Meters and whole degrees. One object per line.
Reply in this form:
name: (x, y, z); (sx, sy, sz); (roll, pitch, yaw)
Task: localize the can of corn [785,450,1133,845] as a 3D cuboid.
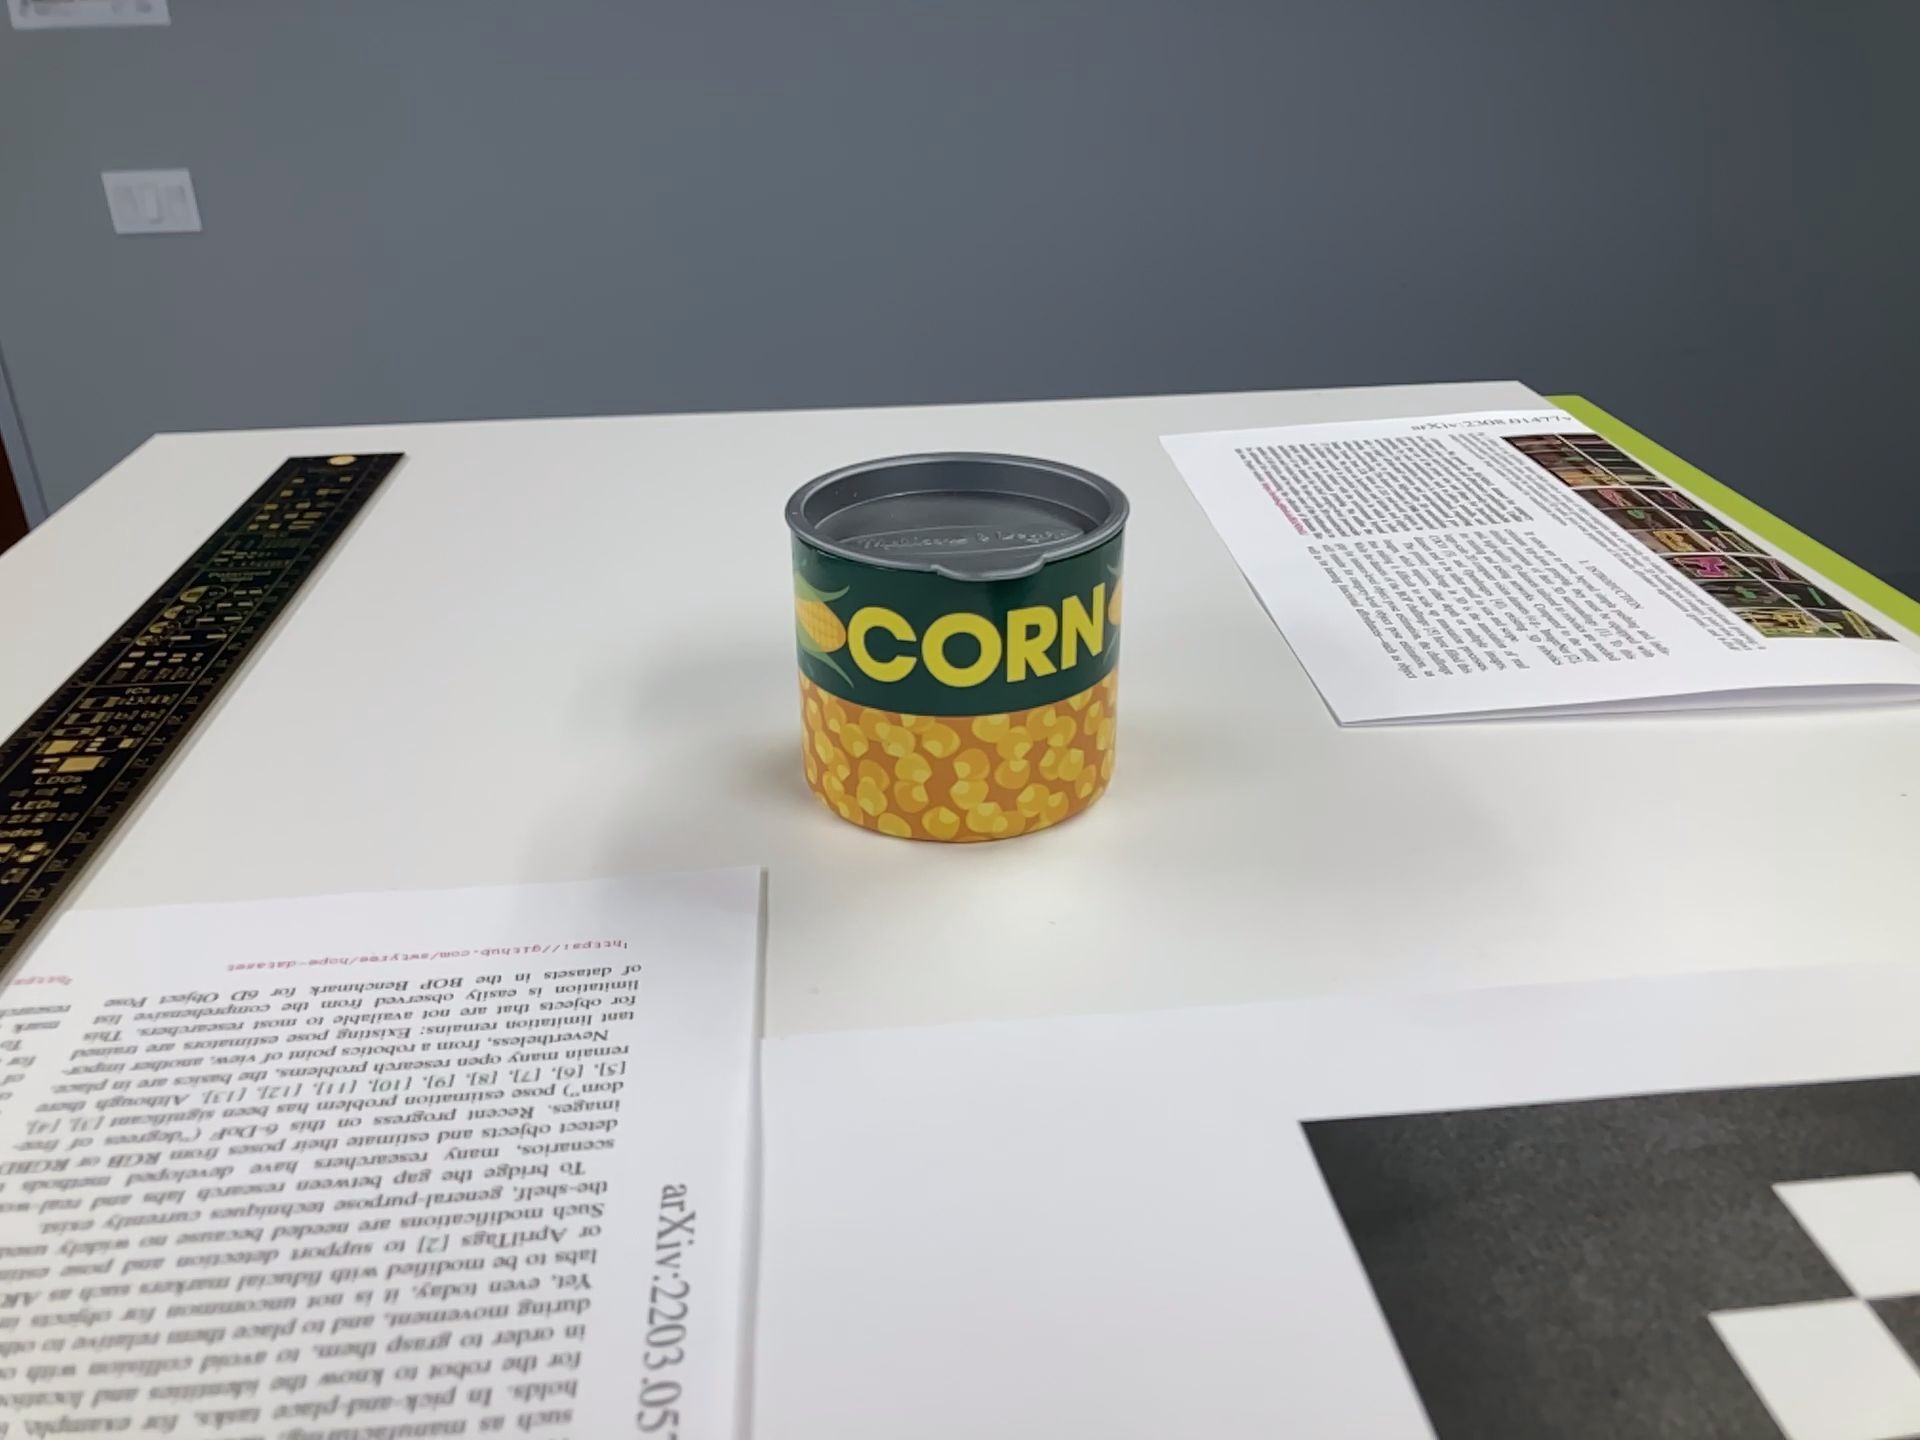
can of corn: (0.000, -0.015, 0.313); (0.071, 0.058, 0.071); (0, 27, 0)
